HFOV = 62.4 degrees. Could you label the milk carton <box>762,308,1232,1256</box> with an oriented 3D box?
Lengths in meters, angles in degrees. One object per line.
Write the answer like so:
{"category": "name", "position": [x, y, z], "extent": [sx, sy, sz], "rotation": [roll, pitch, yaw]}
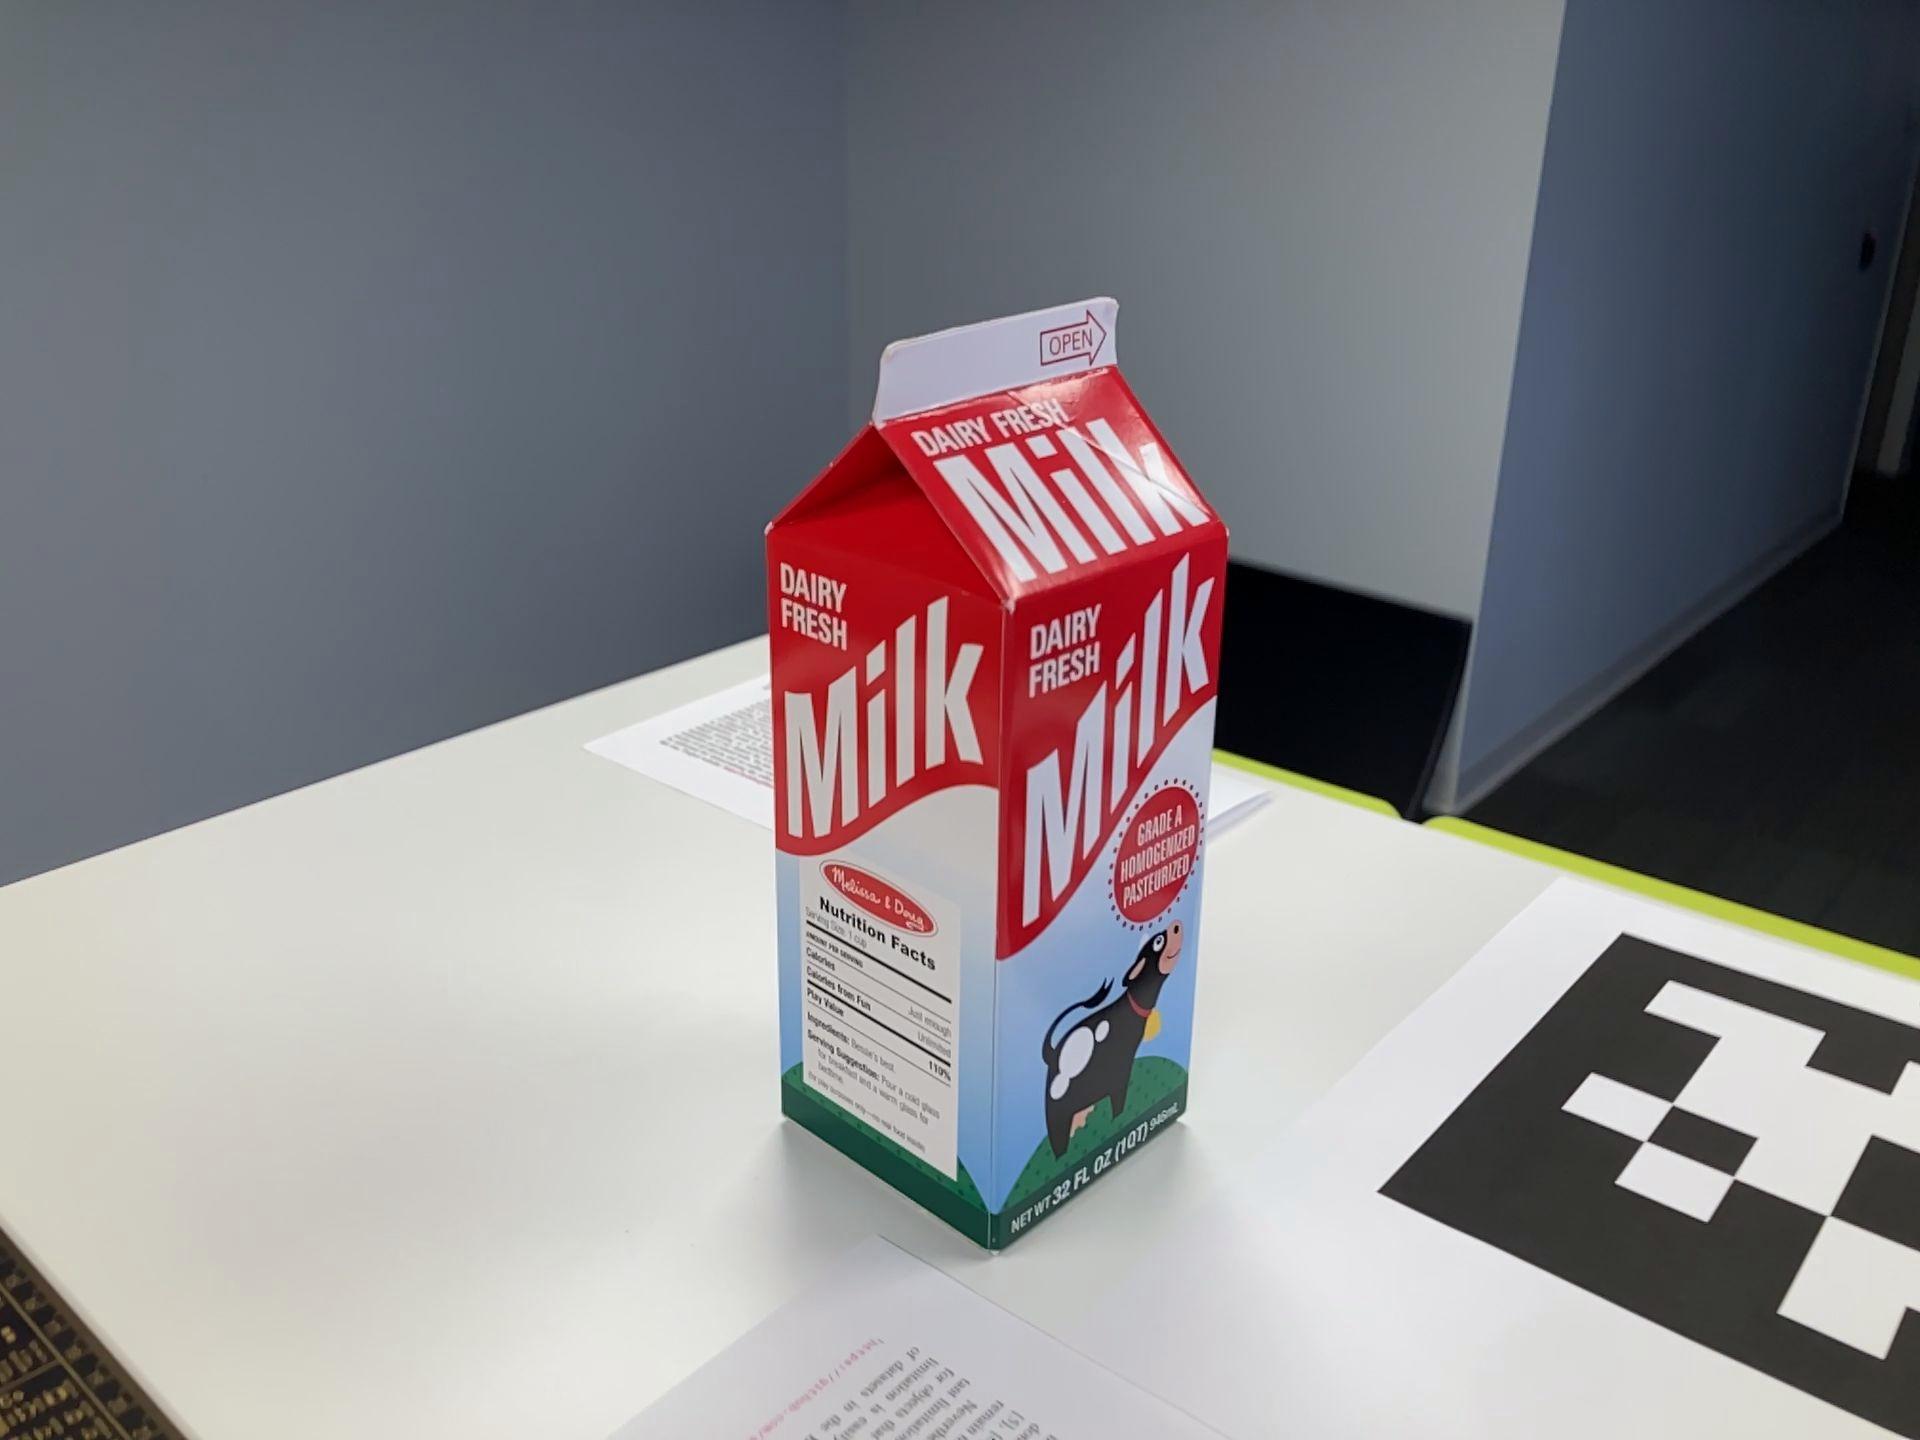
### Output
{"category": "milk carton", "position": [0.007, 0.010, 0.350], "extent": [0.073, 0.190, 0.072], "rotation": [20, 29, 40]}
